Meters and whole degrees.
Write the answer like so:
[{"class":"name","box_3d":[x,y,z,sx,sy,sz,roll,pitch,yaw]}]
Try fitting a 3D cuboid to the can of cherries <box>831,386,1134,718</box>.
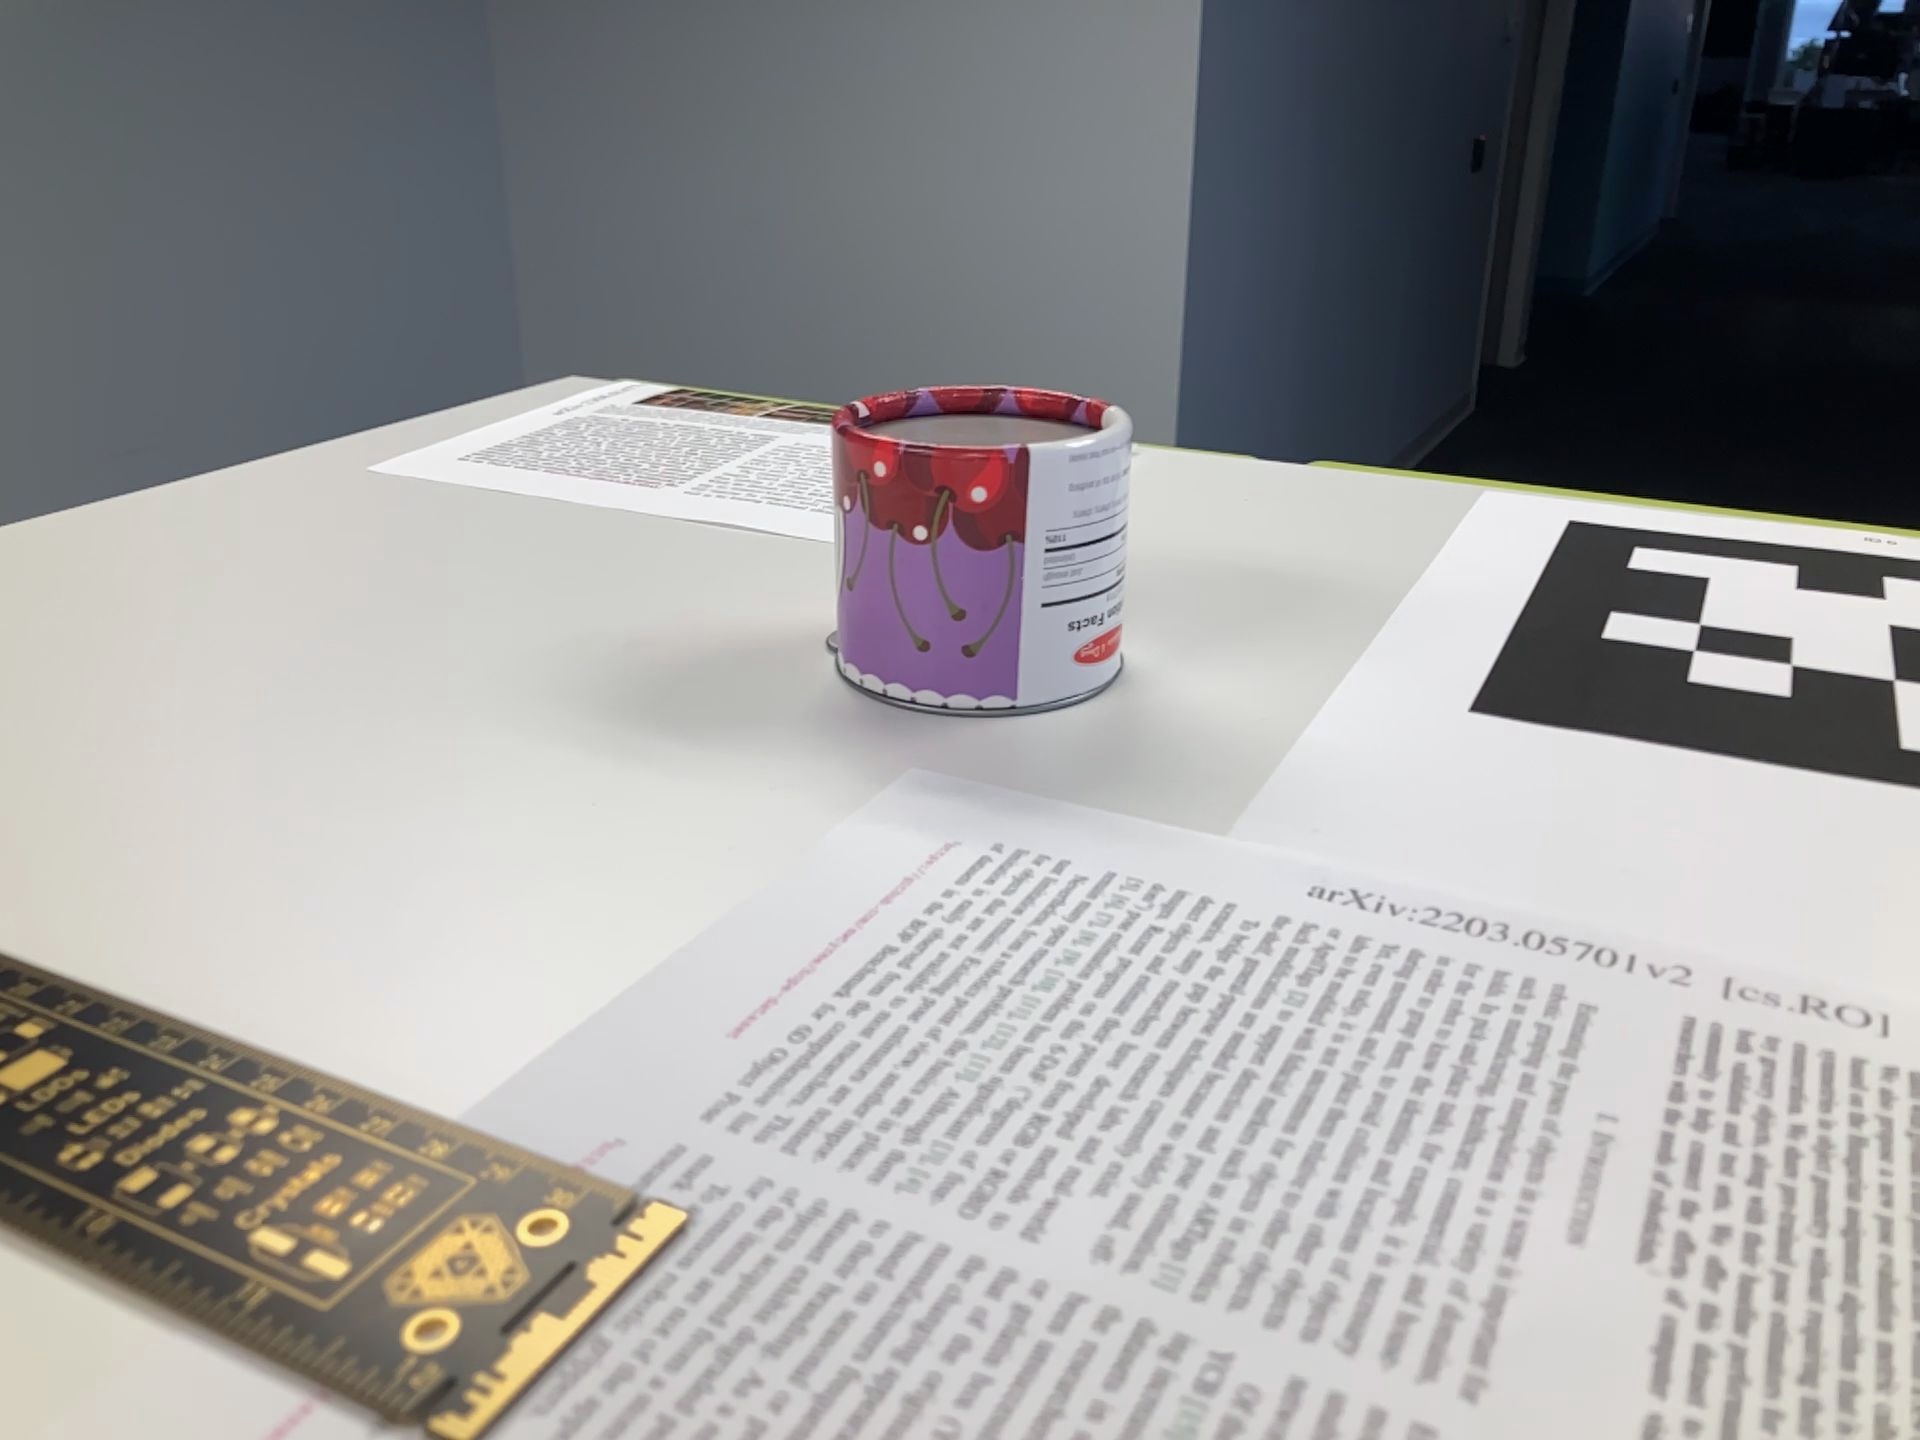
[{"class":"can of cherries","box_3d":[0.002,-0.040,0.351,0.071,0.058,0.071,0,23,0]}]
